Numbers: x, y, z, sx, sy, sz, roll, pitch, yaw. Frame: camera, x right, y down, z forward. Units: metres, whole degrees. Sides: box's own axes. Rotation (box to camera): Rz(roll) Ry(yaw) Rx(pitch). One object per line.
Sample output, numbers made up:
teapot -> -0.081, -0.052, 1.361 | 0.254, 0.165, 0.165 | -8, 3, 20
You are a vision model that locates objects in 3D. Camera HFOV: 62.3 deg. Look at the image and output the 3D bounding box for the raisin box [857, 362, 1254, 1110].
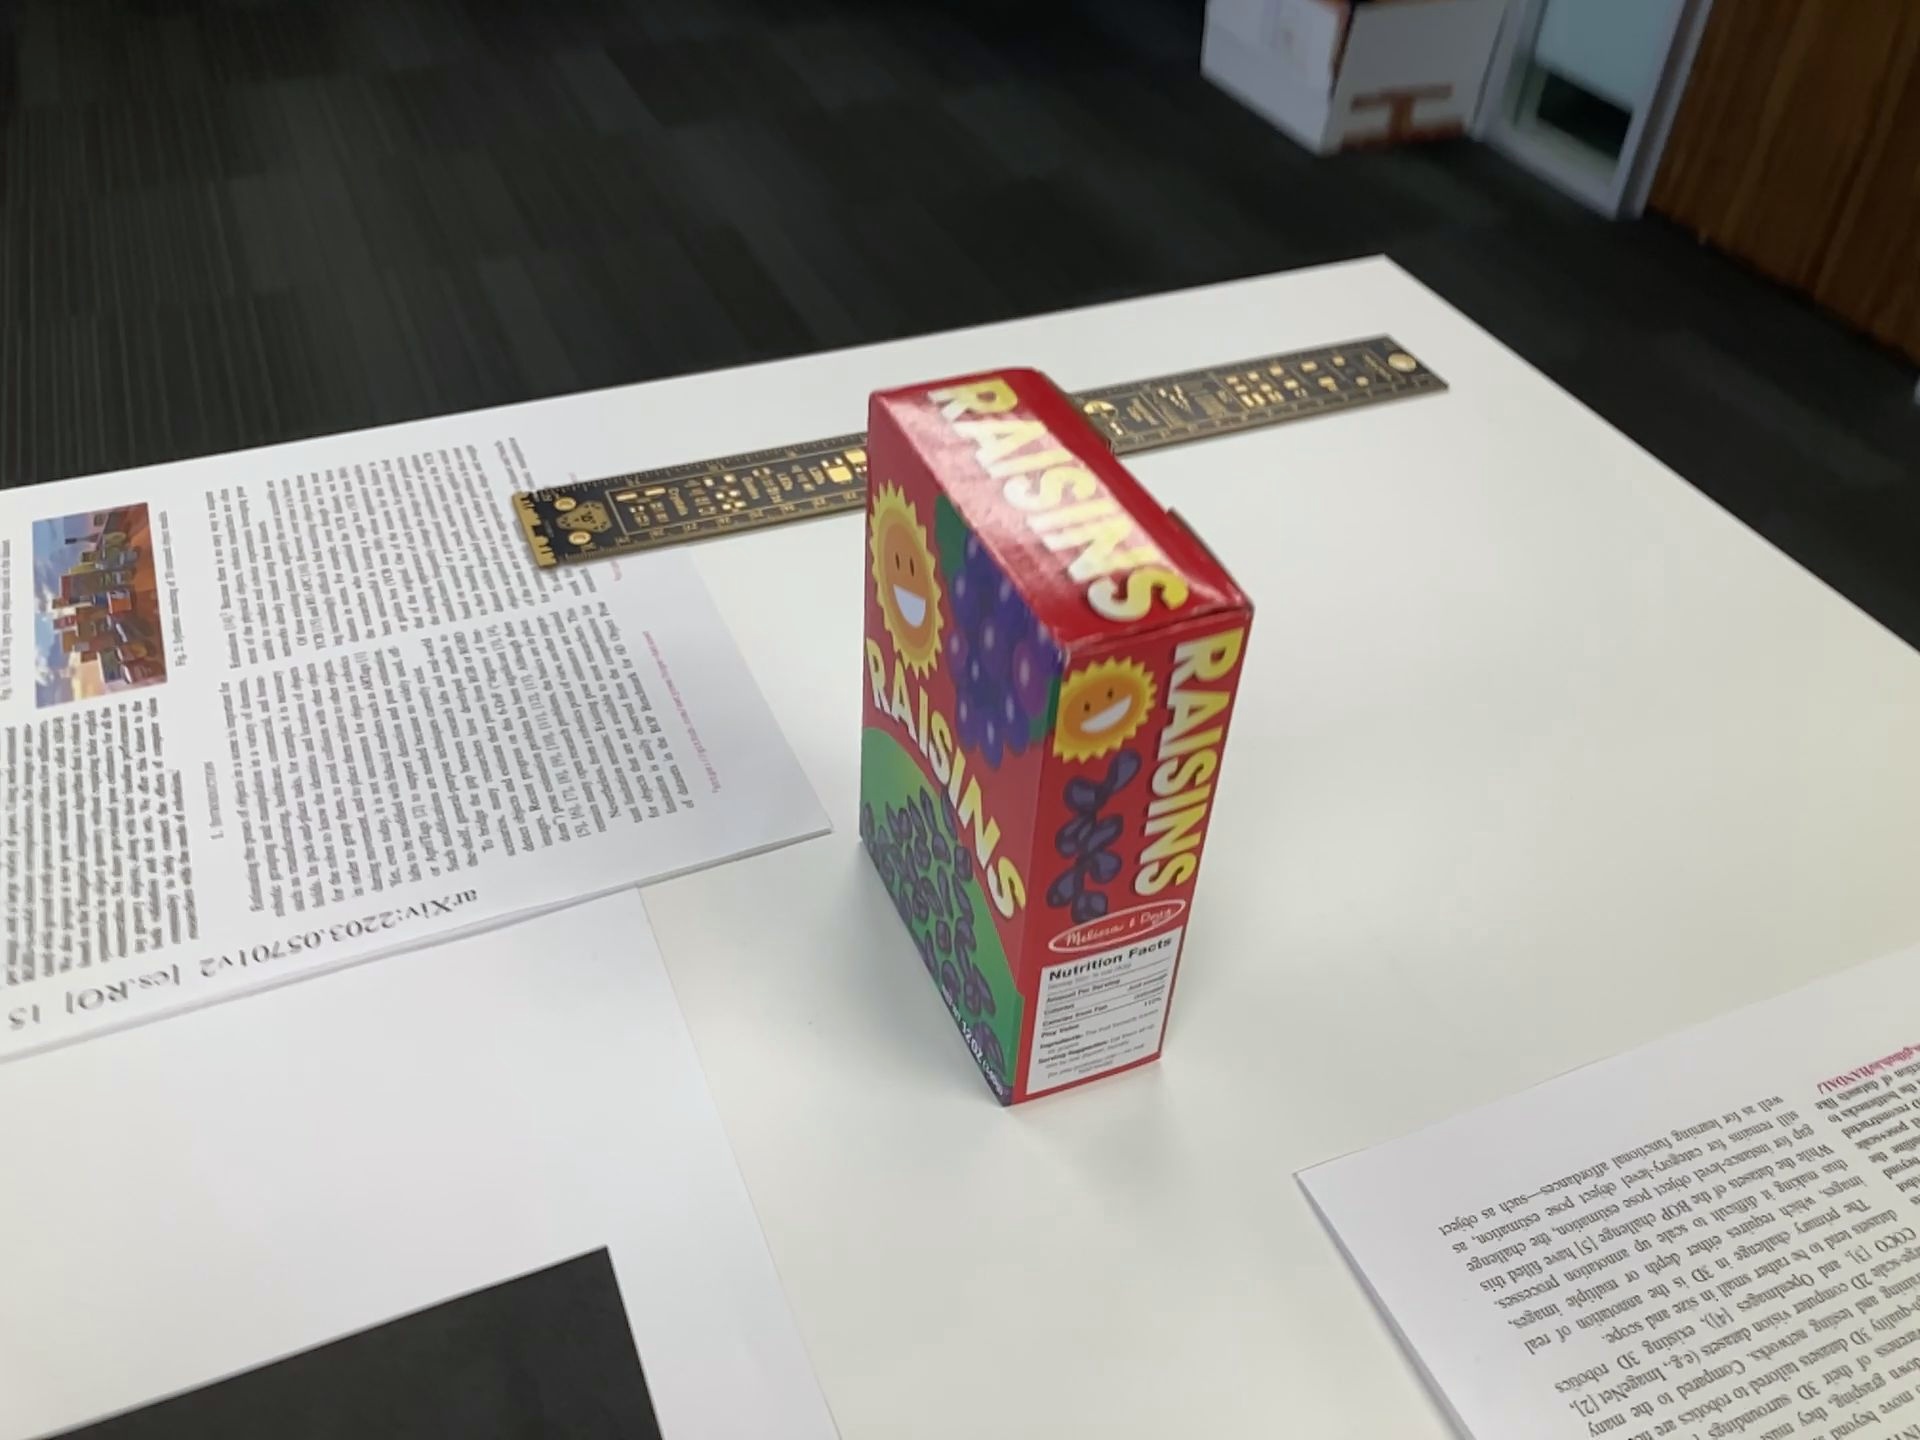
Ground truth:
raisin box -> 0.012, 0.004, 0.317 | 0.040, 0.123, 0.086 | -14, 44, -19
